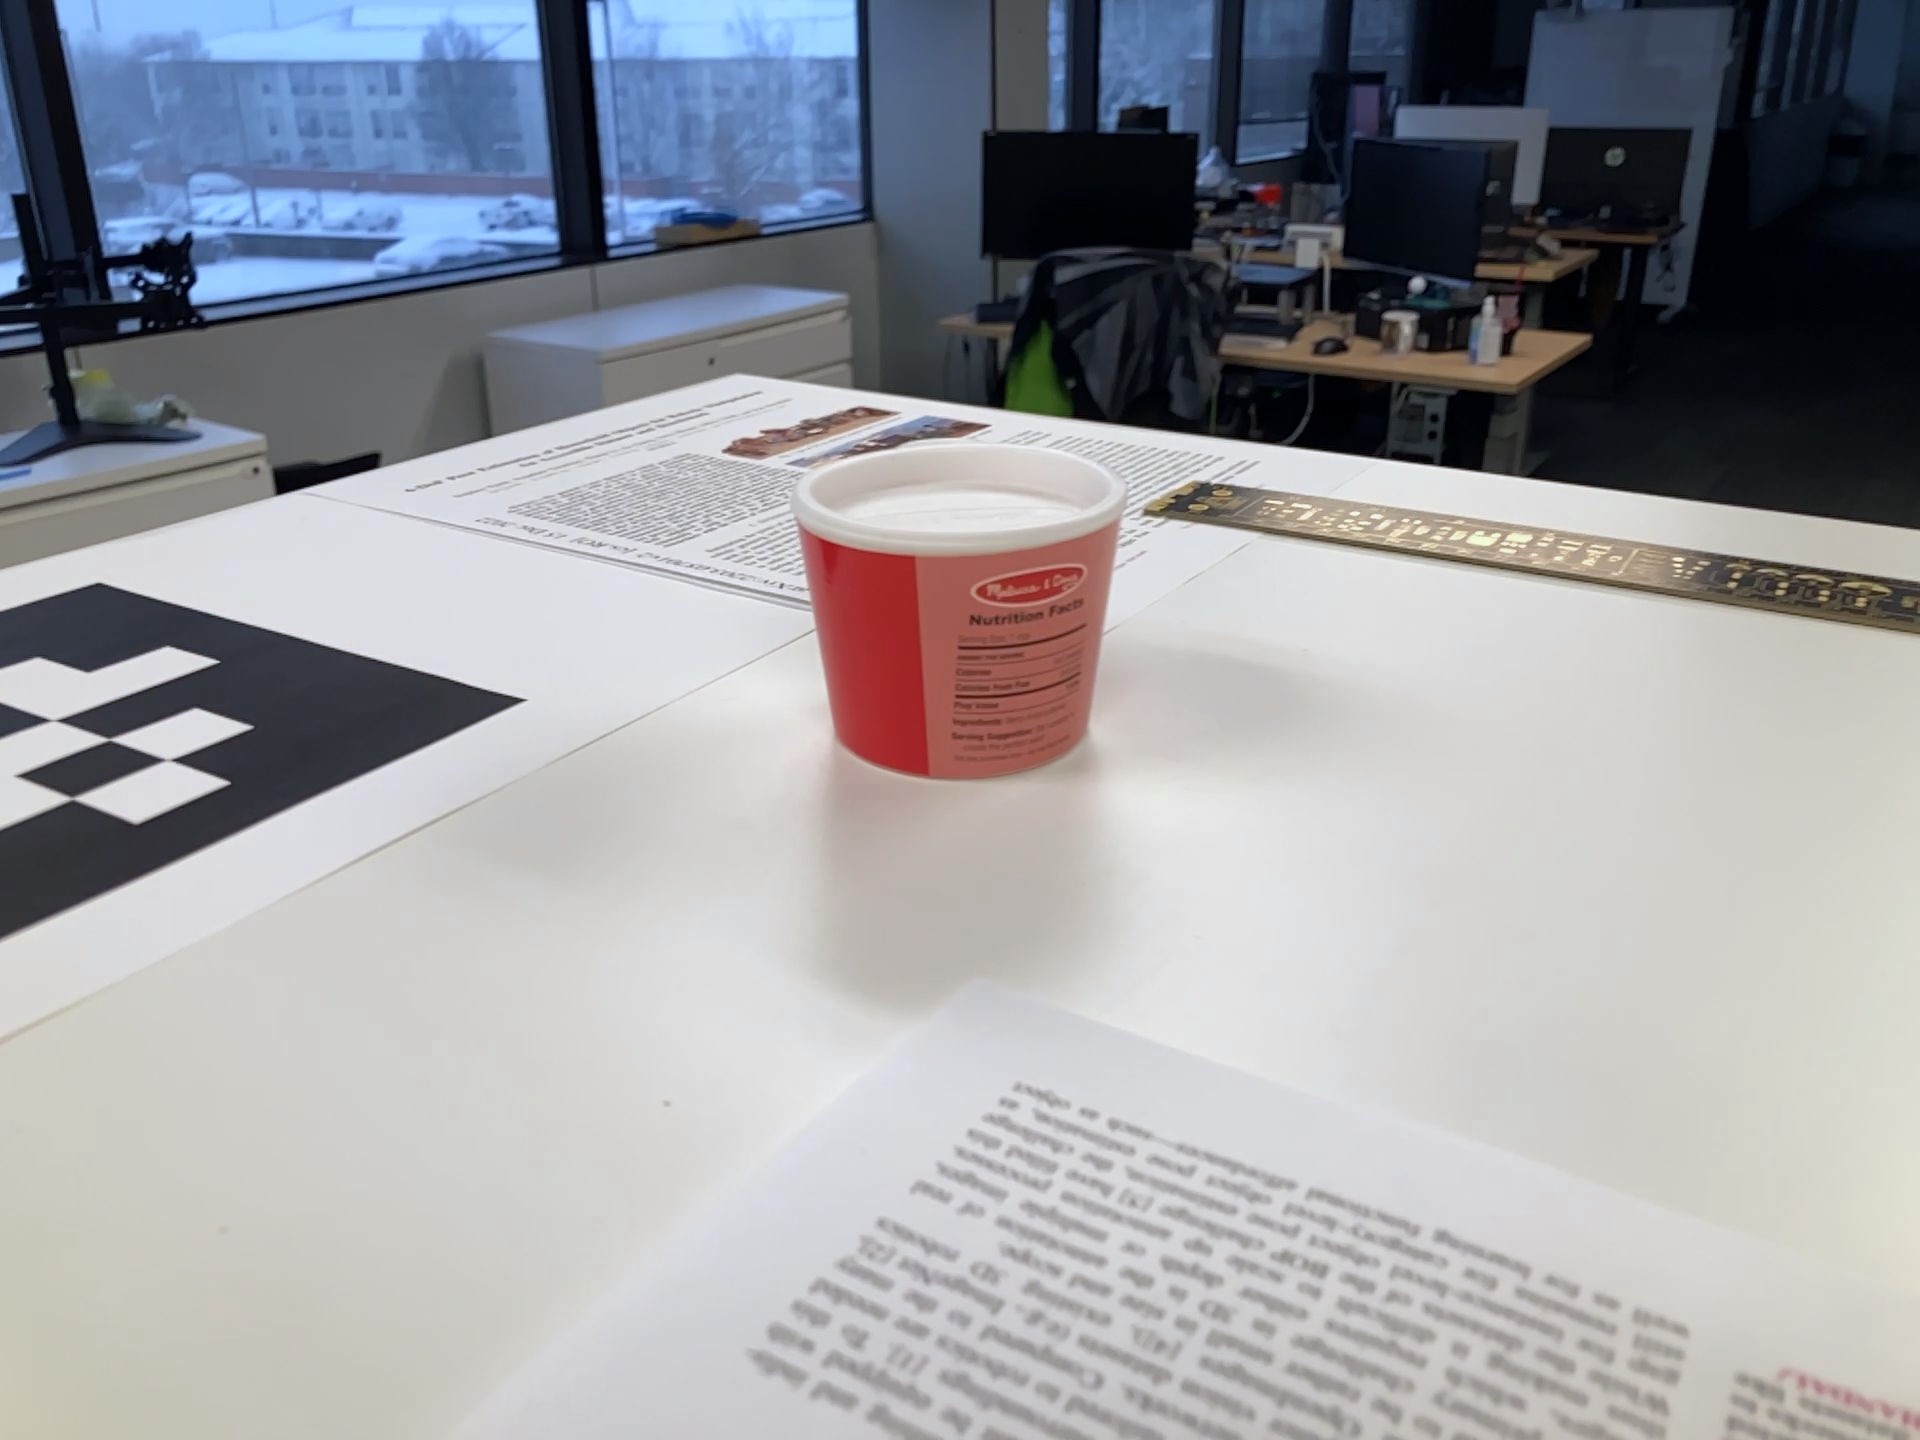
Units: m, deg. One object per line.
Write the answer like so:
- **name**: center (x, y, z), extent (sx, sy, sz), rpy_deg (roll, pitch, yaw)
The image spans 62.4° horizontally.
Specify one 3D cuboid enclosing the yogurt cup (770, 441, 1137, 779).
- **yogurt cup**: center (0.001, -0.023, 0.324), extent (0.072, 0.054, 0.072), rpy_deg (0, 24, 0)
